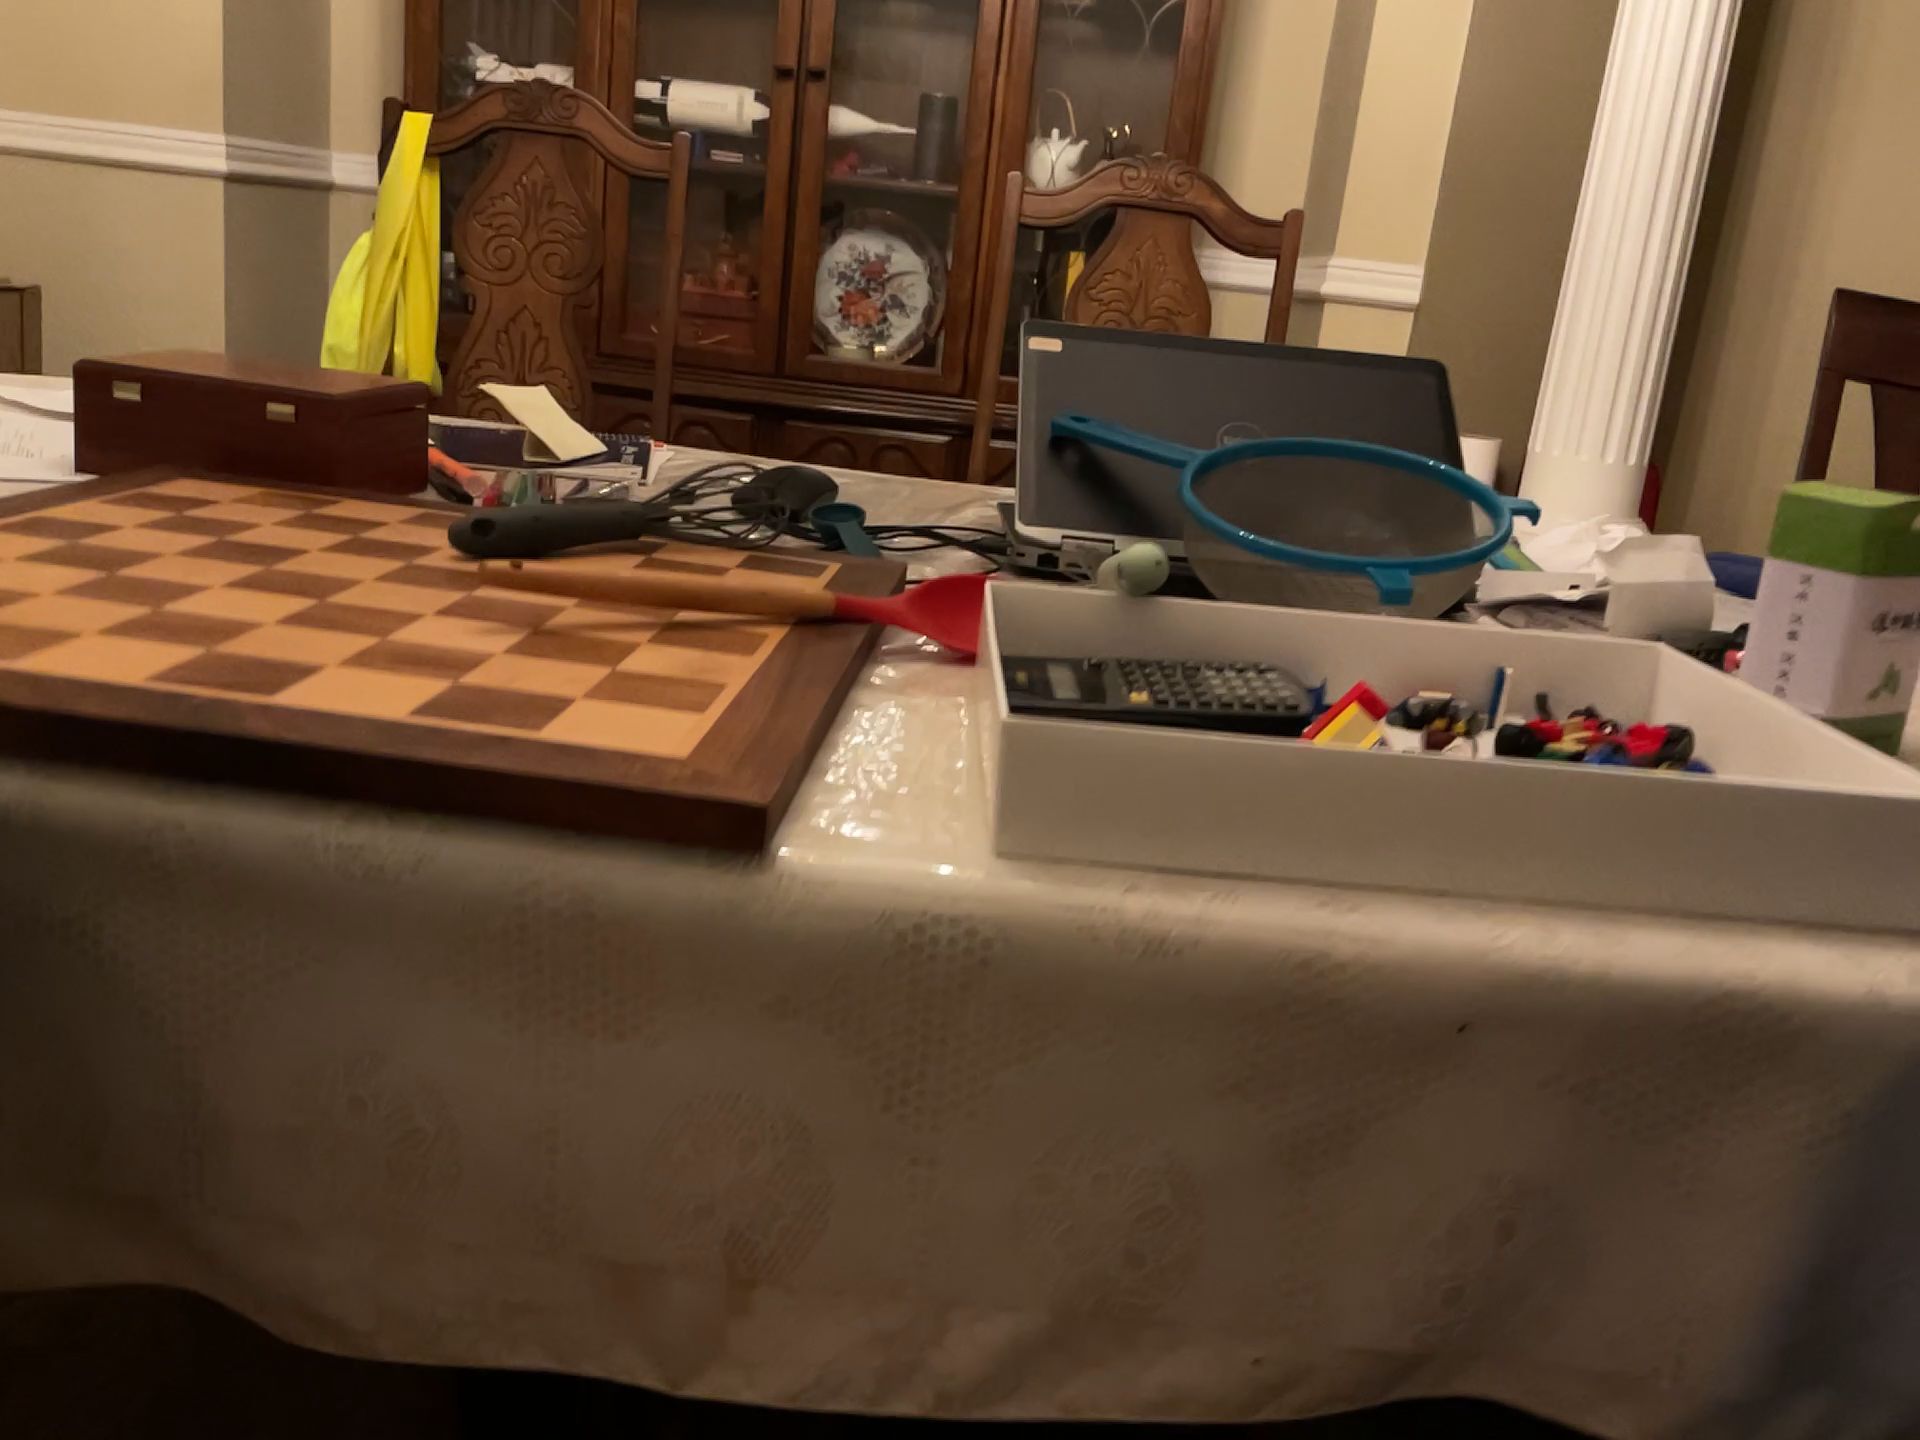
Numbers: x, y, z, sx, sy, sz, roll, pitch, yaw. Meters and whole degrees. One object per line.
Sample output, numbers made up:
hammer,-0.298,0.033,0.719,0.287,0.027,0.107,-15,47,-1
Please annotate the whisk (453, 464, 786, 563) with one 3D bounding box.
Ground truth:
whisk,-0.195,-0.118,0.951,0.055,0.055,0.238,3,13,43

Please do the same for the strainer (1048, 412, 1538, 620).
strainer,0.193,-0.128,1.074,0.341,0.095,0.211,24,36,35

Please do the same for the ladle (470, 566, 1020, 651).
ladle,-0.092,-0.061,0.812,0.315,0.031,0.069,1,38,-34

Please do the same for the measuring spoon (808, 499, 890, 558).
measuring spoon,-0.073,-0.123,1.117,0.042,0.021,0.129,-8,32,-20

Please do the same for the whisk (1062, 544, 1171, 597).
whisk,0.090,-0.080,0.898,0.059,0.058,0.246,-24,3,-1
